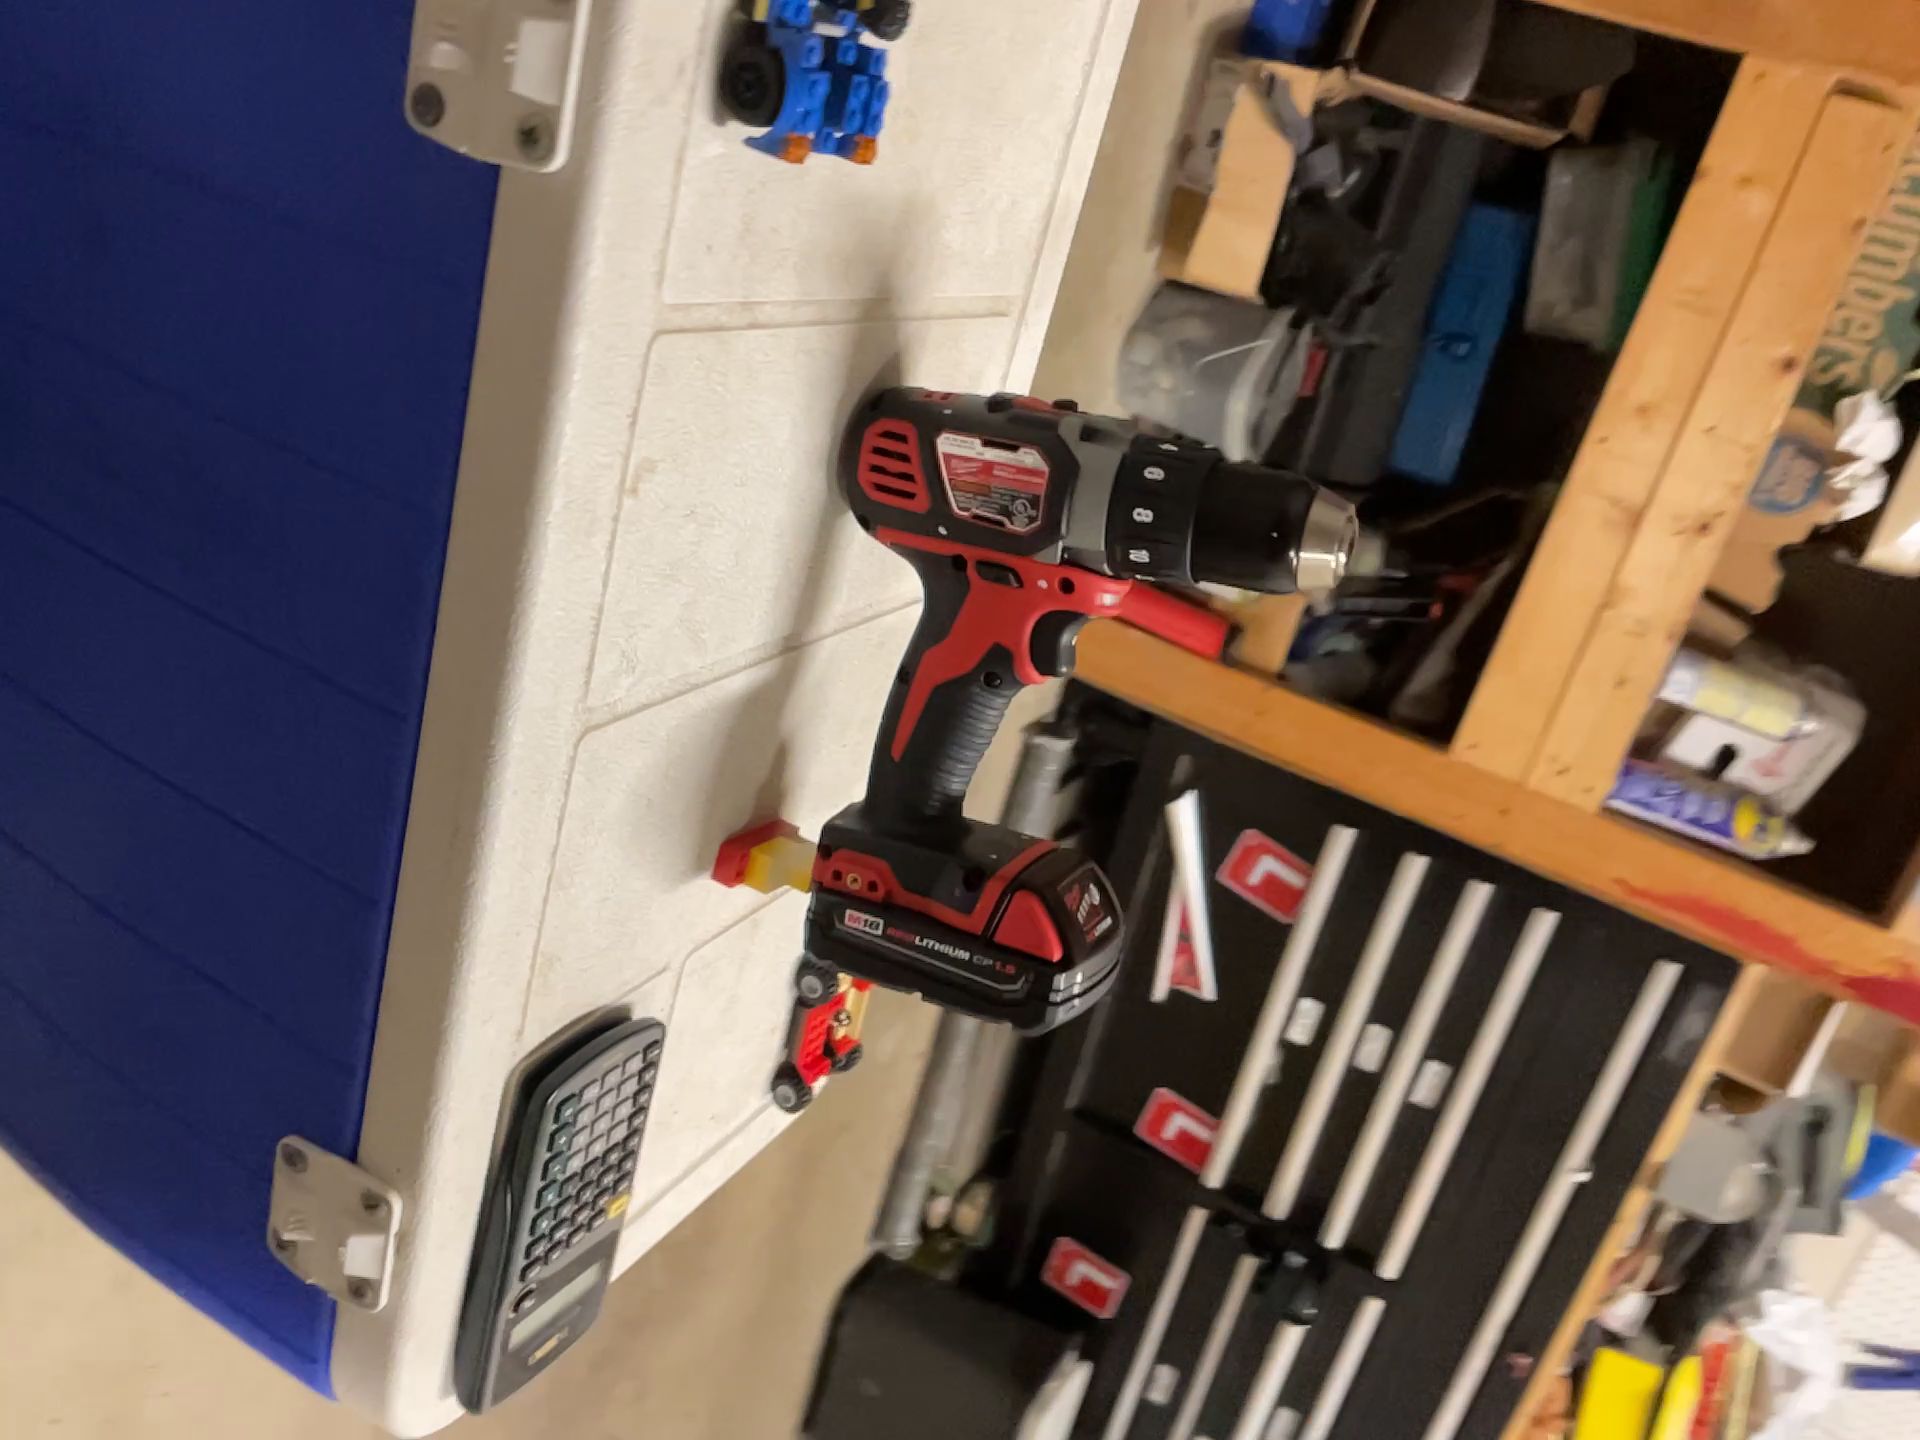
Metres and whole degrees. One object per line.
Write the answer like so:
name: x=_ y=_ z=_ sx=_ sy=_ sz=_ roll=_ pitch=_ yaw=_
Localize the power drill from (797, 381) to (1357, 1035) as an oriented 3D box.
power drill: x=0.035 y=-0.005 z=0.595 sx=0.080 sy=0.188 sz=0.226 roll=-21 pitch=123 yaw=-66
